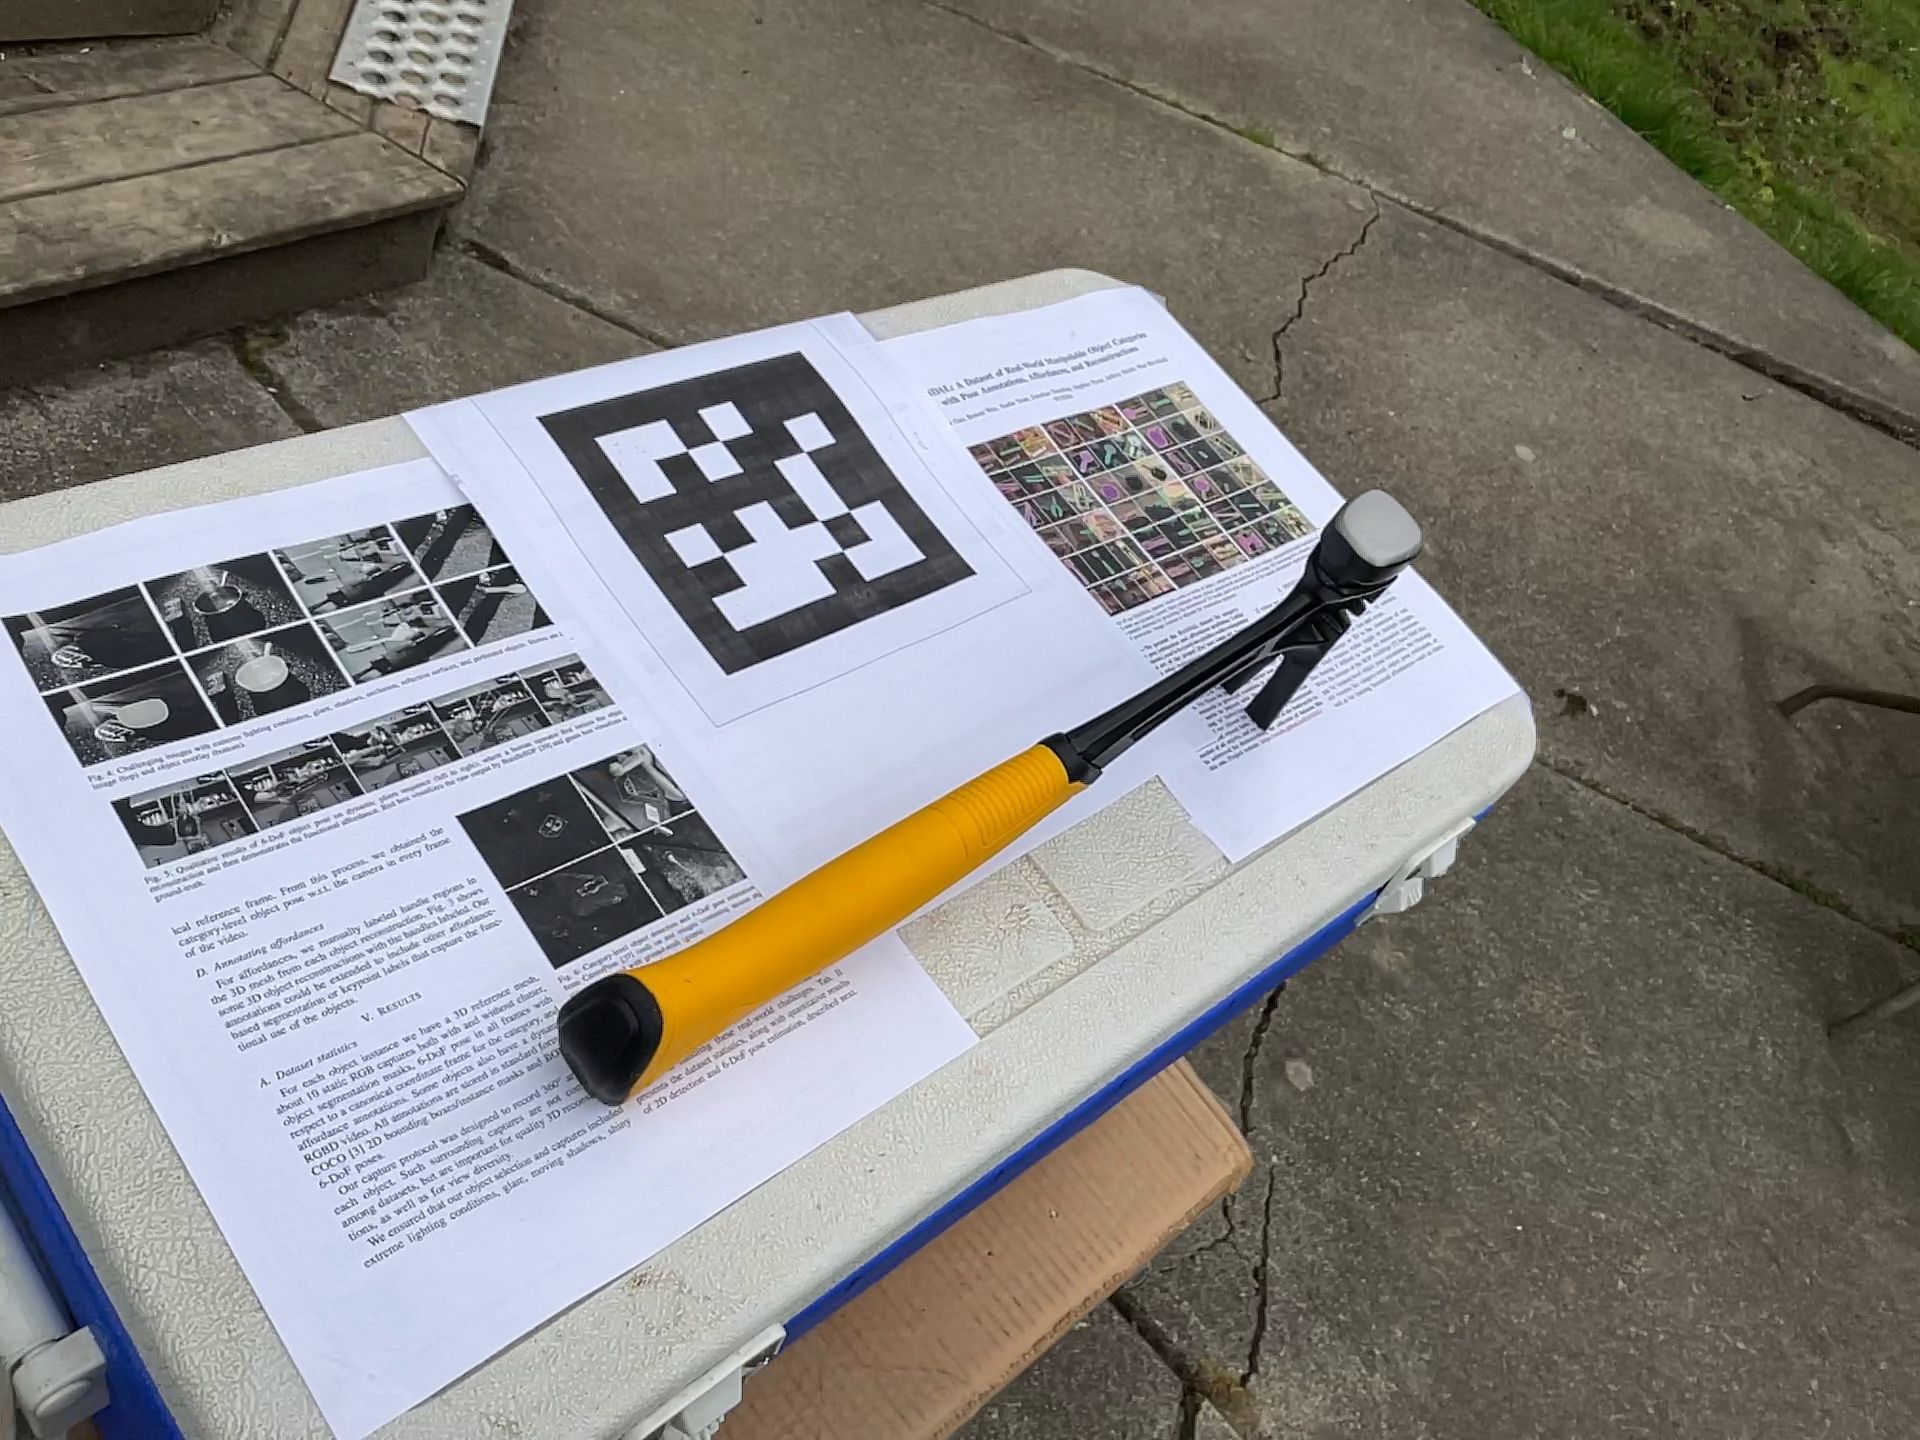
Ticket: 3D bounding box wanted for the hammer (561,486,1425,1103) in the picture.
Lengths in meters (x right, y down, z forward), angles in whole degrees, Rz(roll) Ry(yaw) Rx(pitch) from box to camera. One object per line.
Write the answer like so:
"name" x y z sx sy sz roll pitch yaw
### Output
"hammer" 0.018 0.026 0.535 0.337 0.127 0.034 -30 72 -30
